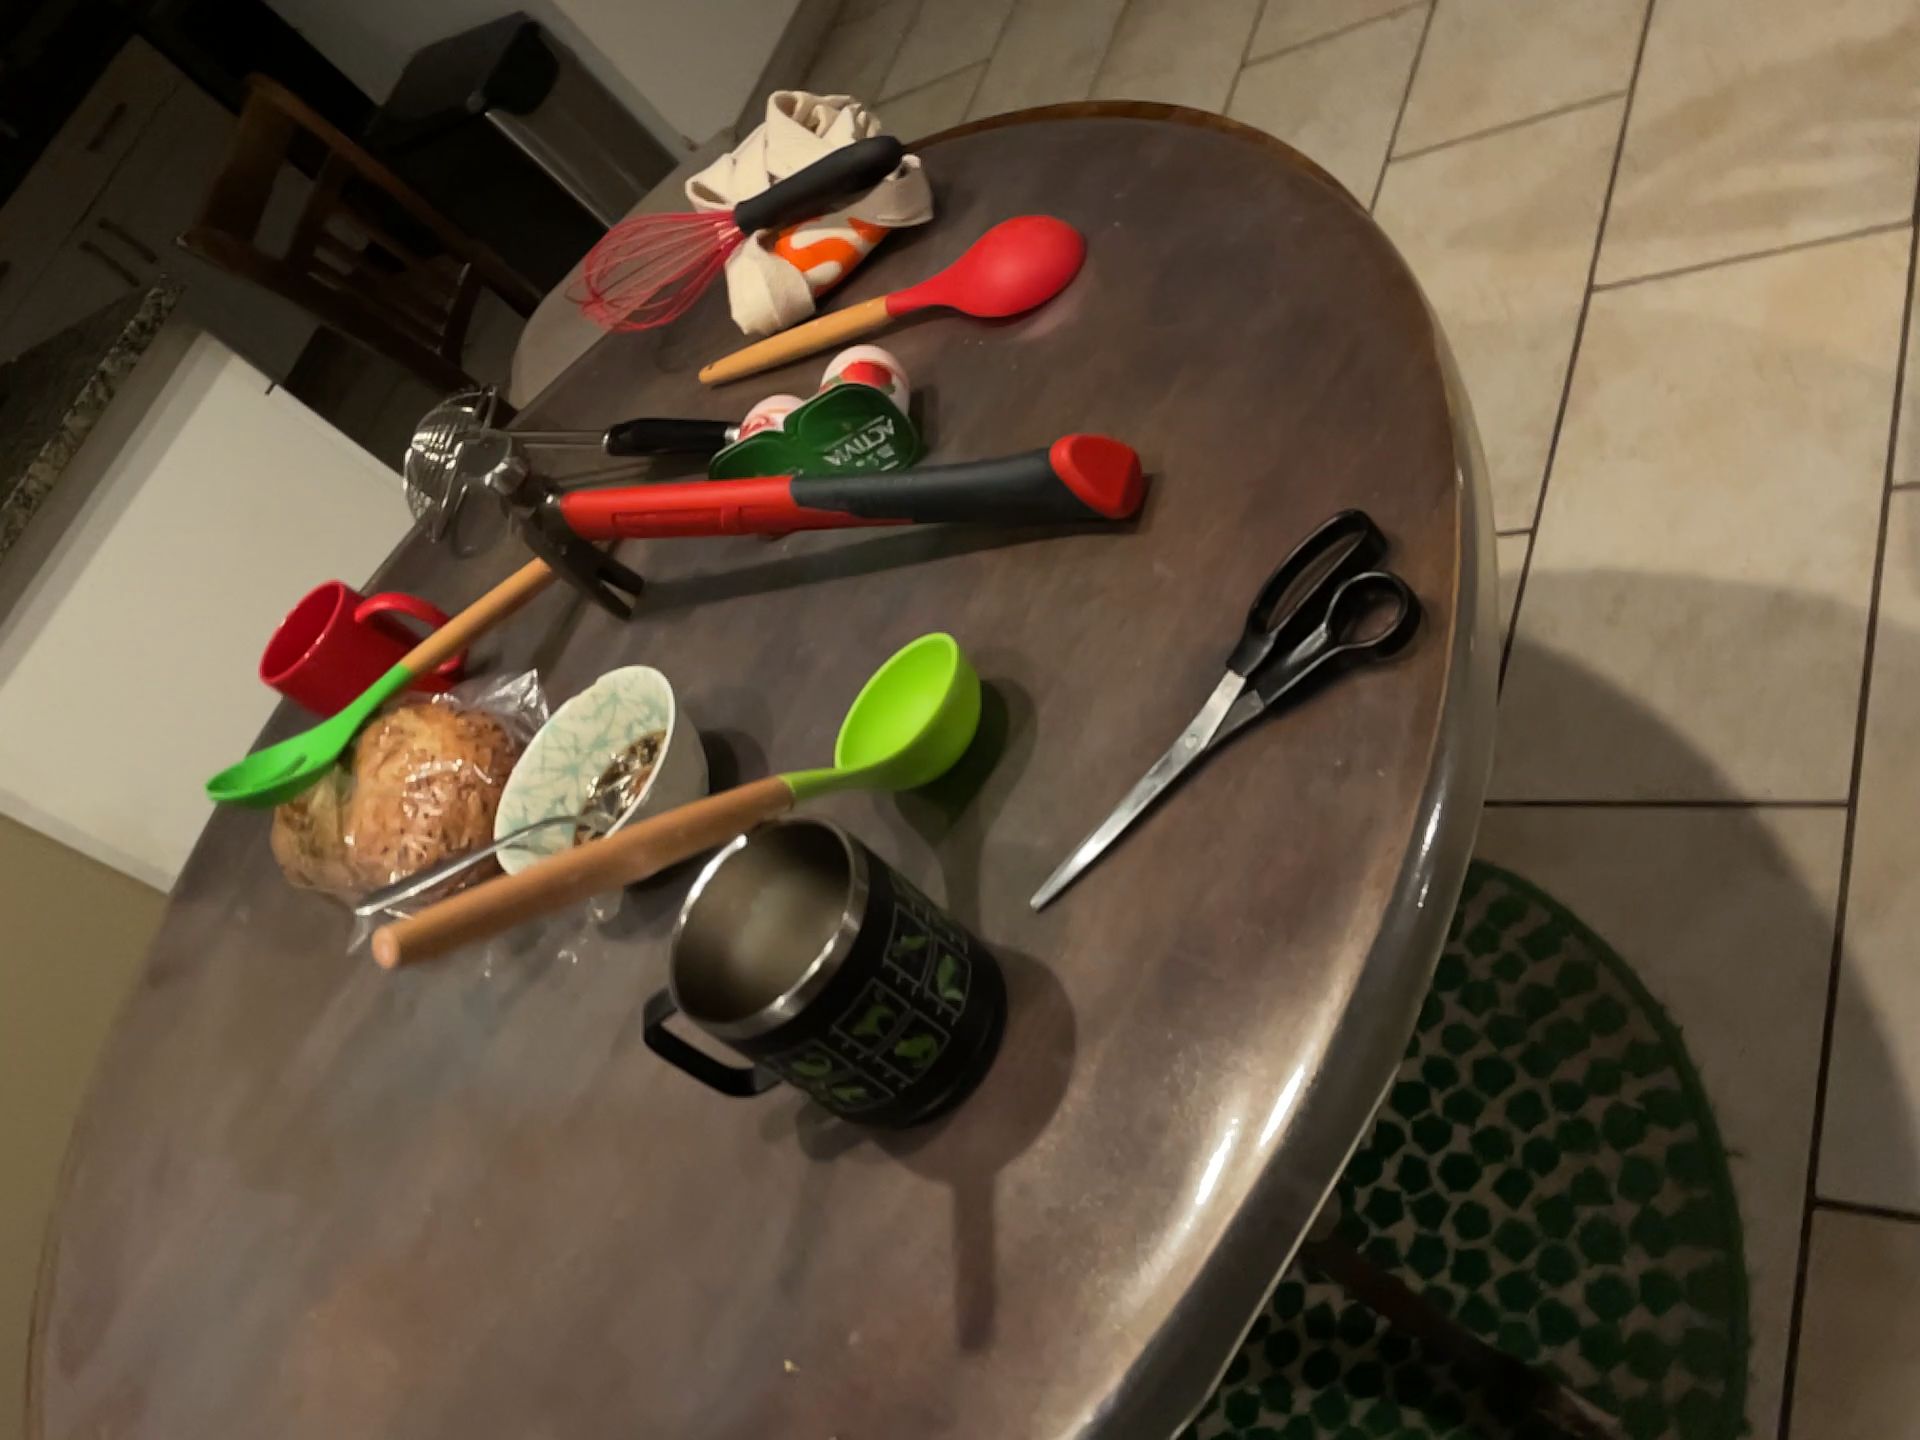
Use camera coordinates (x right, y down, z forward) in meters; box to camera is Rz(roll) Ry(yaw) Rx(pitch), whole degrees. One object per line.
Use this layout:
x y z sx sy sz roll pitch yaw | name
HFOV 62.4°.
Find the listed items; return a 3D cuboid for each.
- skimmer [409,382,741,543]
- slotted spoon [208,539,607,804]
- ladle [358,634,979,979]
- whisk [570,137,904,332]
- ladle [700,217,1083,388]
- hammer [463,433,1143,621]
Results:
-0.261 -0.179 1.103 0.364 0.090 0.127 7 72 35 | skimmer
-0.311 -0.045 0.959 0.070 0.031 0.314 9 43 42 | slotted spoon
-0.093 0.026 0.599 0.078 0.320 0.062 -33 83 36 | ladle
-0.152 -0.320 1.040 0.296 0.073 0.073 -12 50 37 | whisk
-0.058 -0.246 0.968 0.316 0.031 0.069 -8 53 43 | ladle
-0.080 -0.103 0.832 0.387 0.143 0.038 2 61 31 | hammer
